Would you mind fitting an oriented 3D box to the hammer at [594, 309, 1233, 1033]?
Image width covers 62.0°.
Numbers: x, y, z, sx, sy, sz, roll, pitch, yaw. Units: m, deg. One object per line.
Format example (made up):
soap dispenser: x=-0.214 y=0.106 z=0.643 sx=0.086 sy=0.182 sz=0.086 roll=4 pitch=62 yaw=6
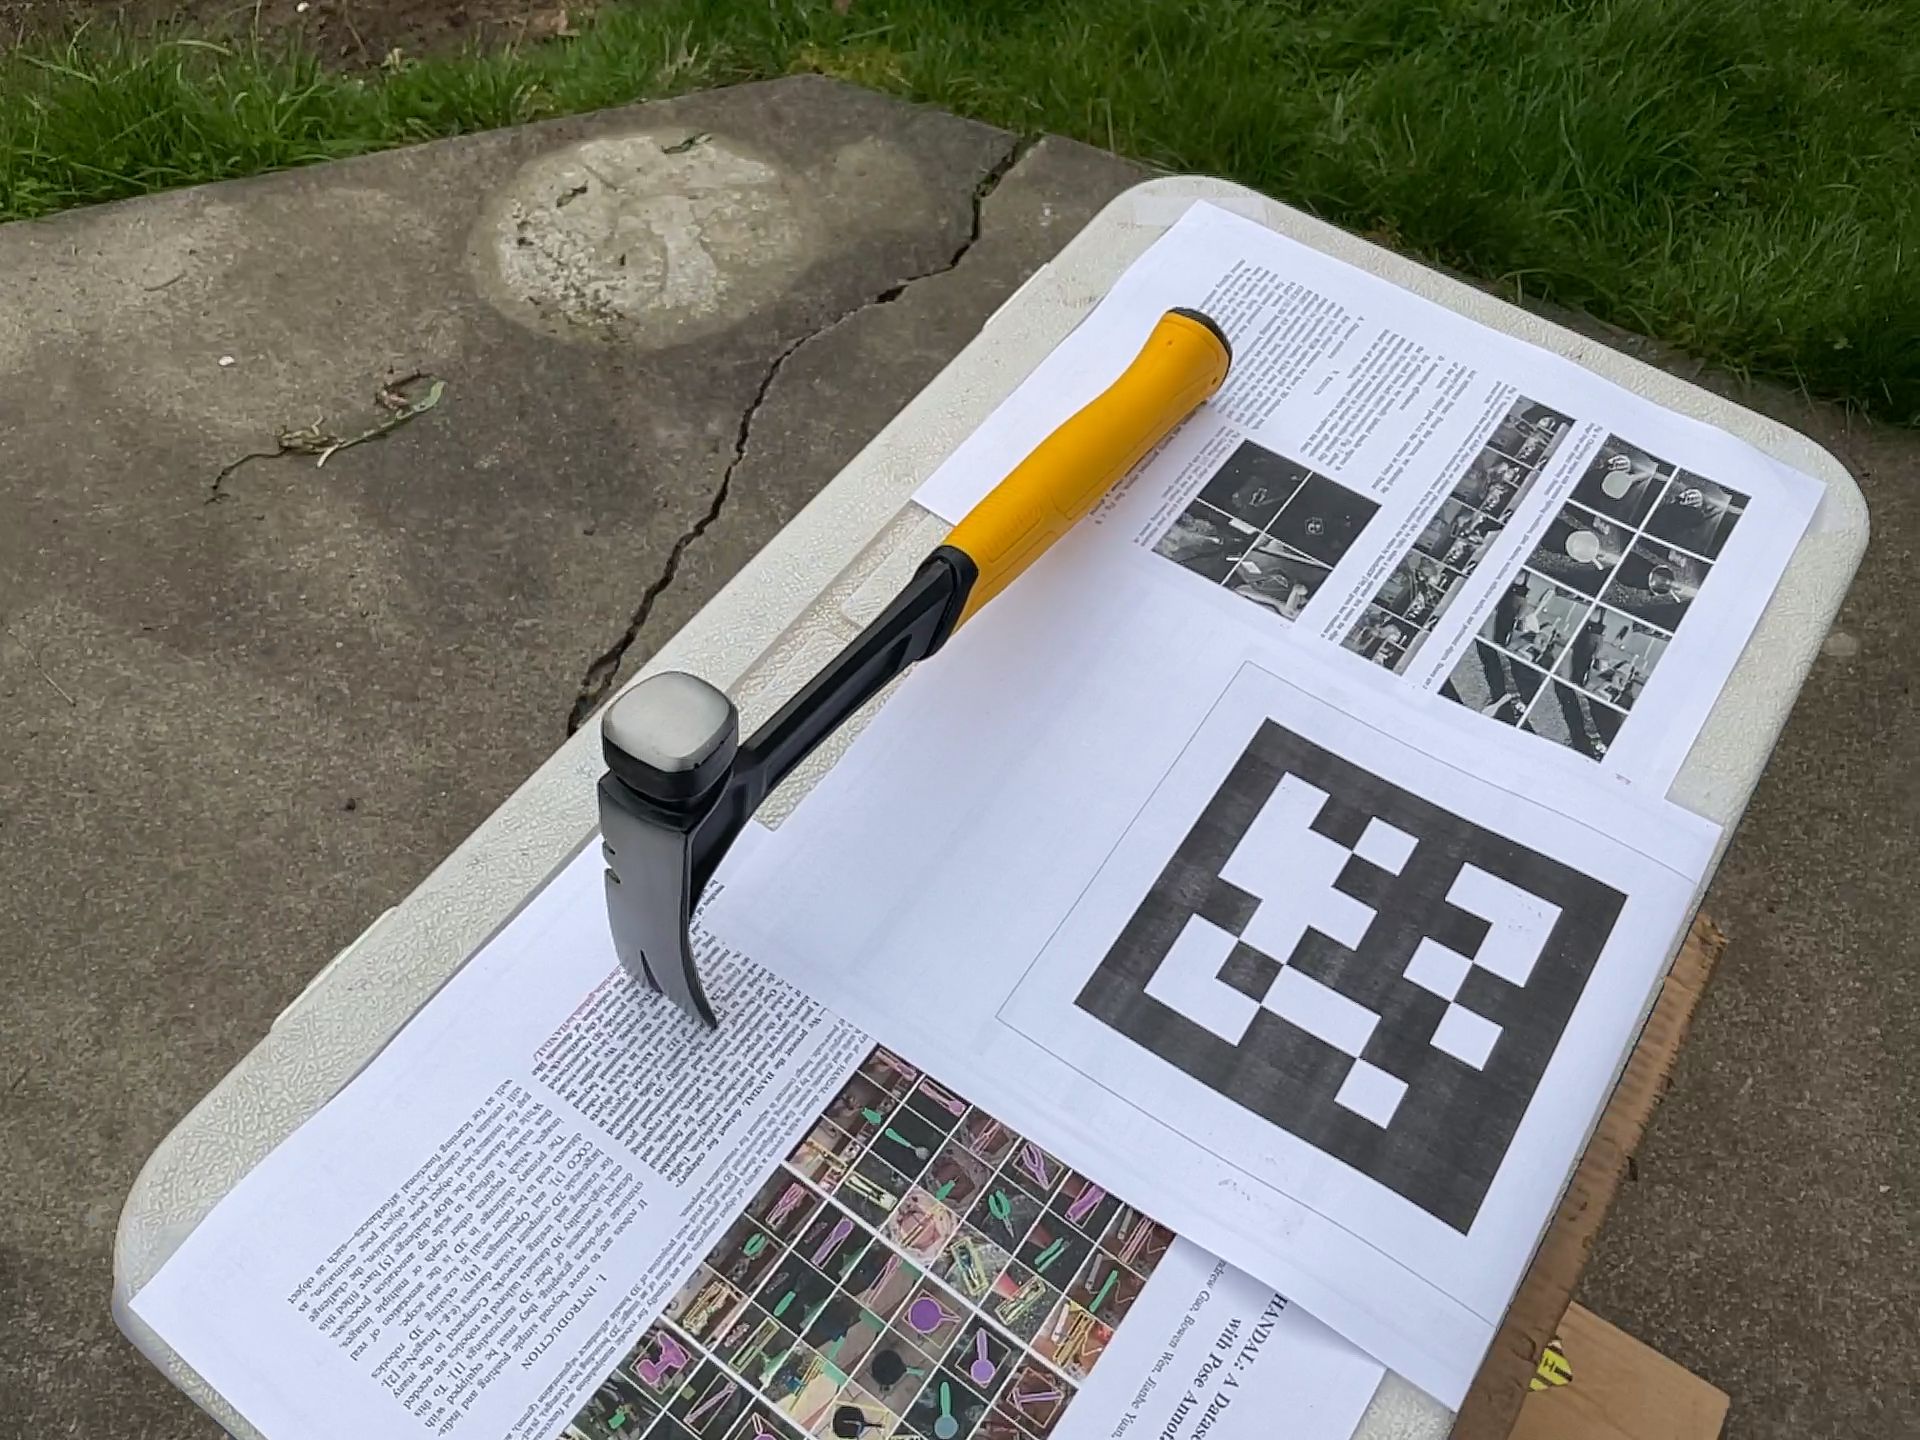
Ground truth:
hammer: x=0.003 y=-0.045 z=0.533 sx=0.034 sy=0.127 sz=0.337 roll=29 pitch=49 yaw=17
